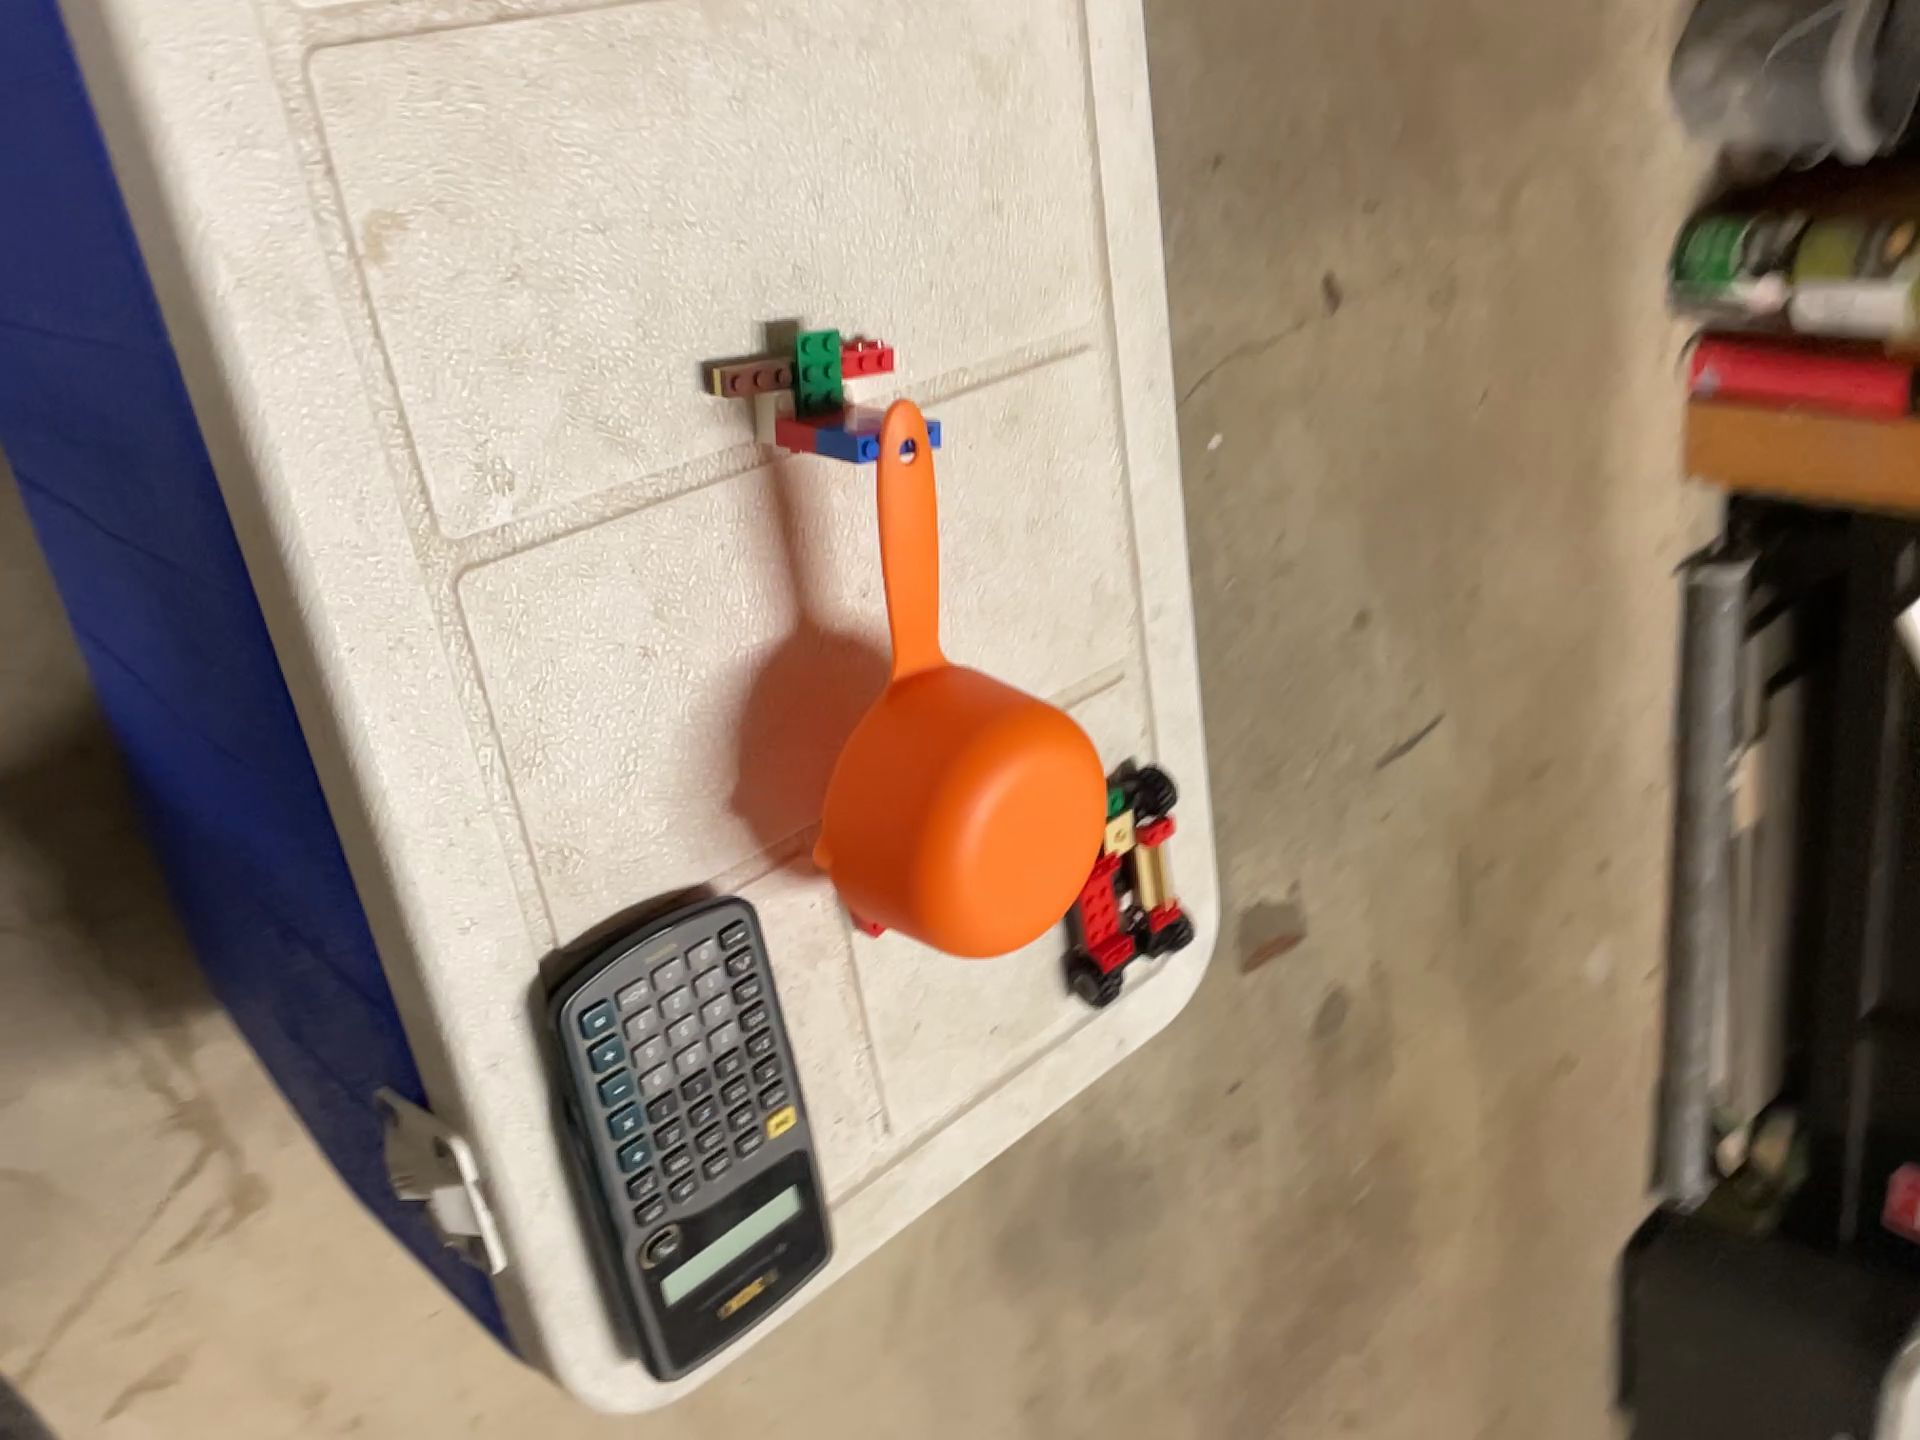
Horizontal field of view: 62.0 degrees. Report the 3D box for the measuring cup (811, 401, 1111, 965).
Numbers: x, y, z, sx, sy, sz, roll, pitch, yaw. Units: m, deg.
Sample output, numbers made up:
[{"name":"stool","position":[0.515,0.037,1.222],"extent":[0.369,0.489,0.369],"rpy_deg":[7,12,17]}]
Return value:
[{"name":"measuring cup","position":[0.004,-0.006,0.475],"extent":[0.095,0.052,0.173],"rpy_deg":[-26,126,-37]}]
